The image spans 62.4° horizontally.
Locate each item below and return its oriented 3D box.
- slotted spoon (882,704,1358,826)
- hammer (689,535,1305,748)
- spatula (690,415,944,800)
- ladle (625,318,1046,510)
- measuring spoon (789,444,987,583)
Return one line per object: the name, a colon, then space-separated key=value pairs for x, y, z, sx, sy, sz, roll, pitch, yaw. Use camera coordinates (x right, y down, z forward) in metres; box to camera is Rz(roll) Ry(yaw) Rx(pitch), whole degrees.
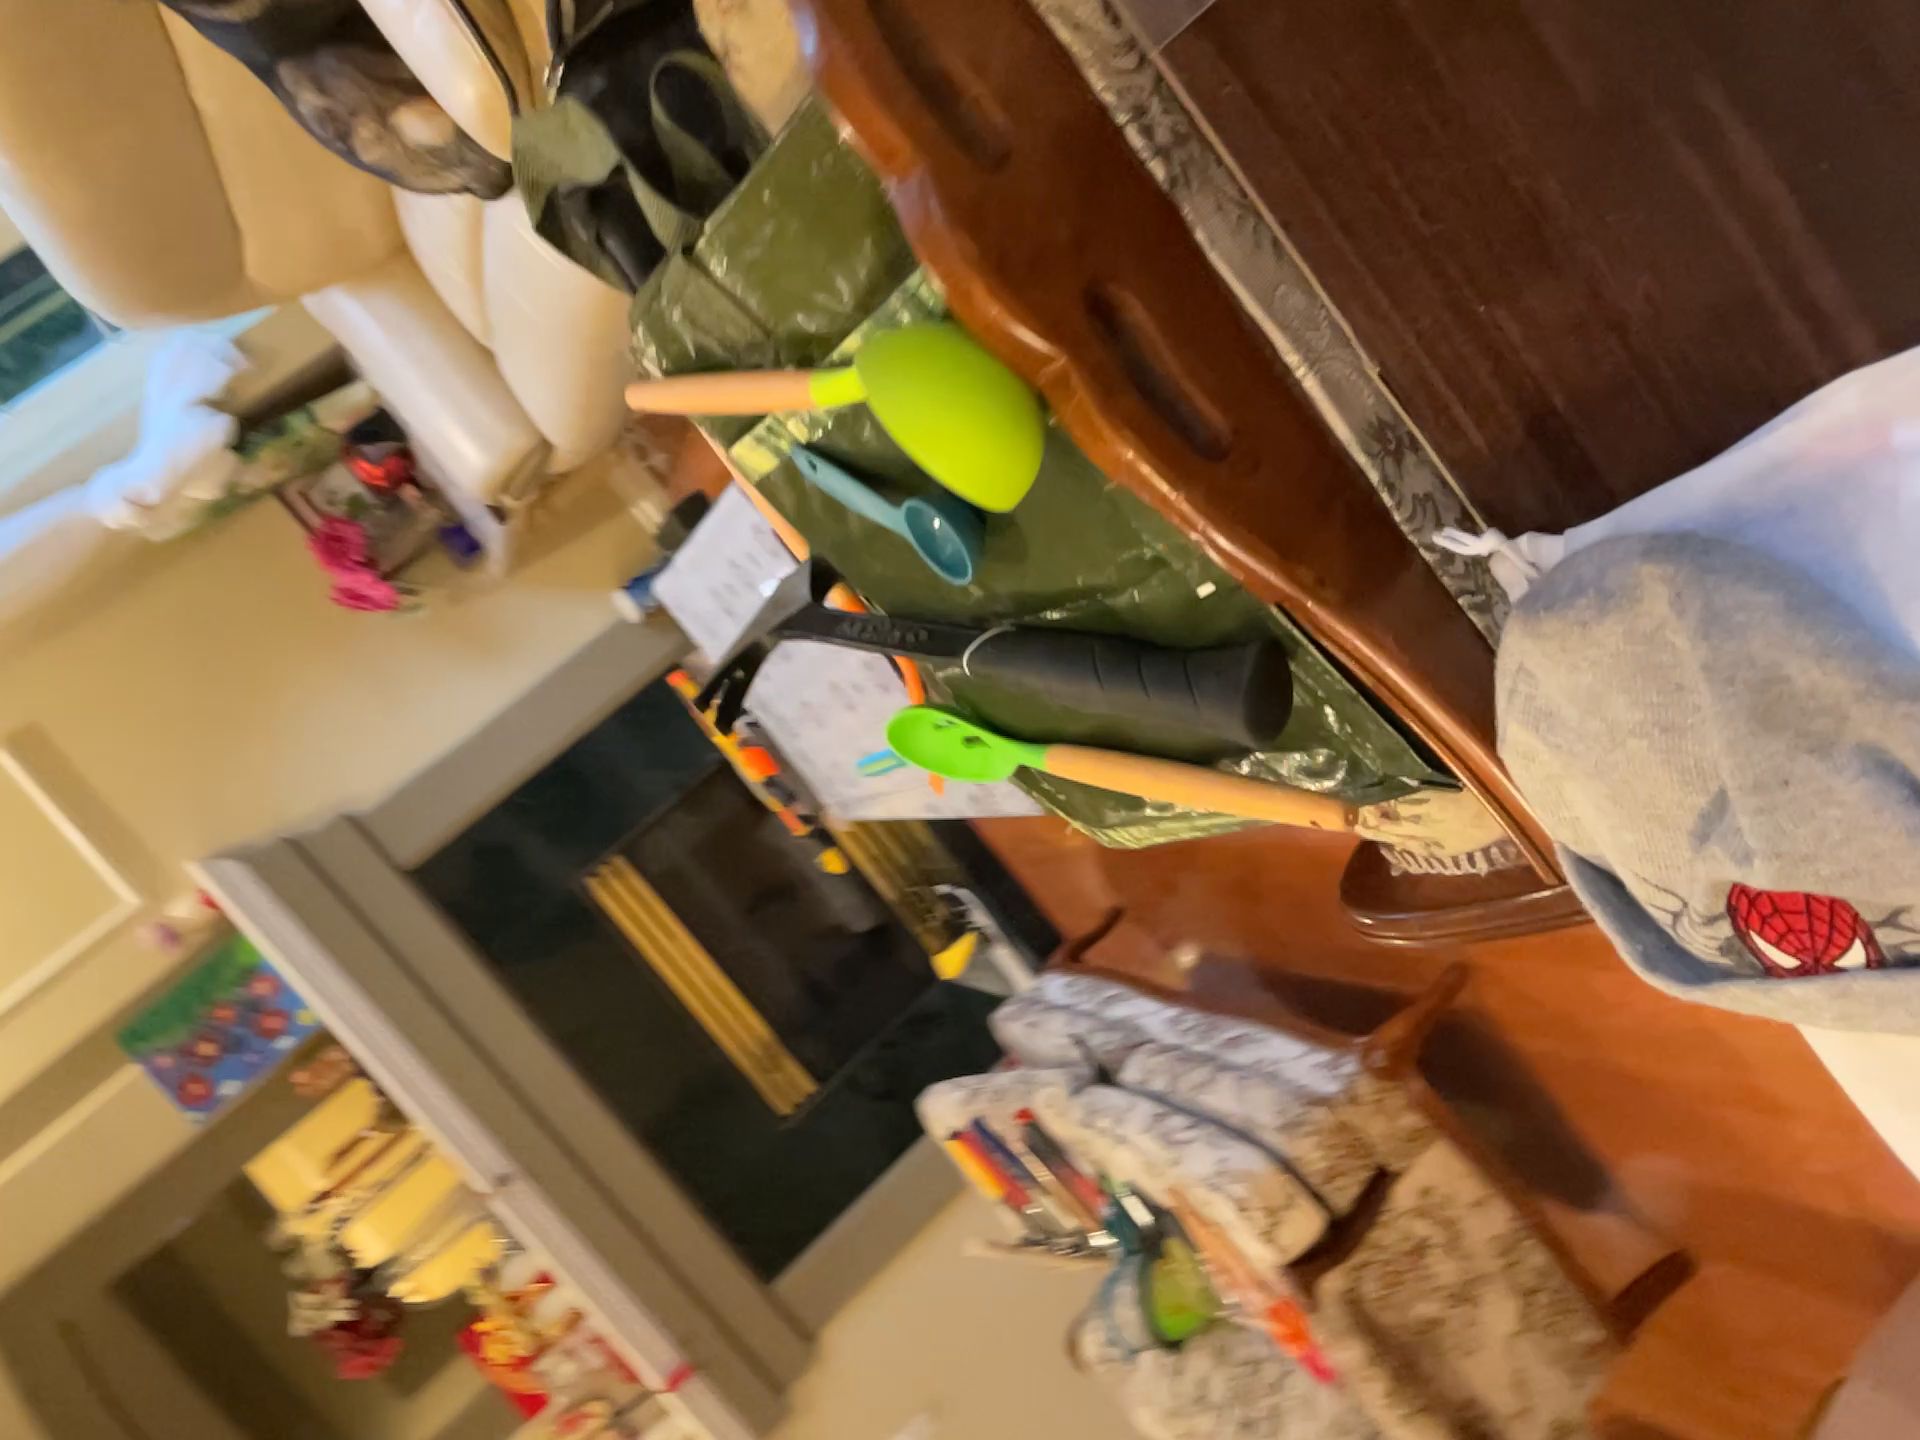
slotted spoon: x=0.064 y=0.023 z=0.761 sx=0.070 sy=0.031 sz=0.314 roll=42 pitch=161 yaw=-32
hammer: x=0.002 y=-0.032 z=0.753 sx=0.409 sy=0.149 sz=0.036 roll=13 pitch=150 yaw=54
spatula: x=-0.095 y=-0.090 z=1.004 sx=0.322 sy=0.041 sz=0.081 roll=52 pitch=172 yaw=2
ladle: x=-0.075 y=-0.129 z=0.667 sx=0.078 sy=0.062 sz=0.320 roll=30 pitch=171 yaw=-36
measuring spoon: x=-0.030 y=-0.099 z=0.687 sx=0.129 sy=0.021 sz=0.042 roll=35 pitch=157 yaw=39
